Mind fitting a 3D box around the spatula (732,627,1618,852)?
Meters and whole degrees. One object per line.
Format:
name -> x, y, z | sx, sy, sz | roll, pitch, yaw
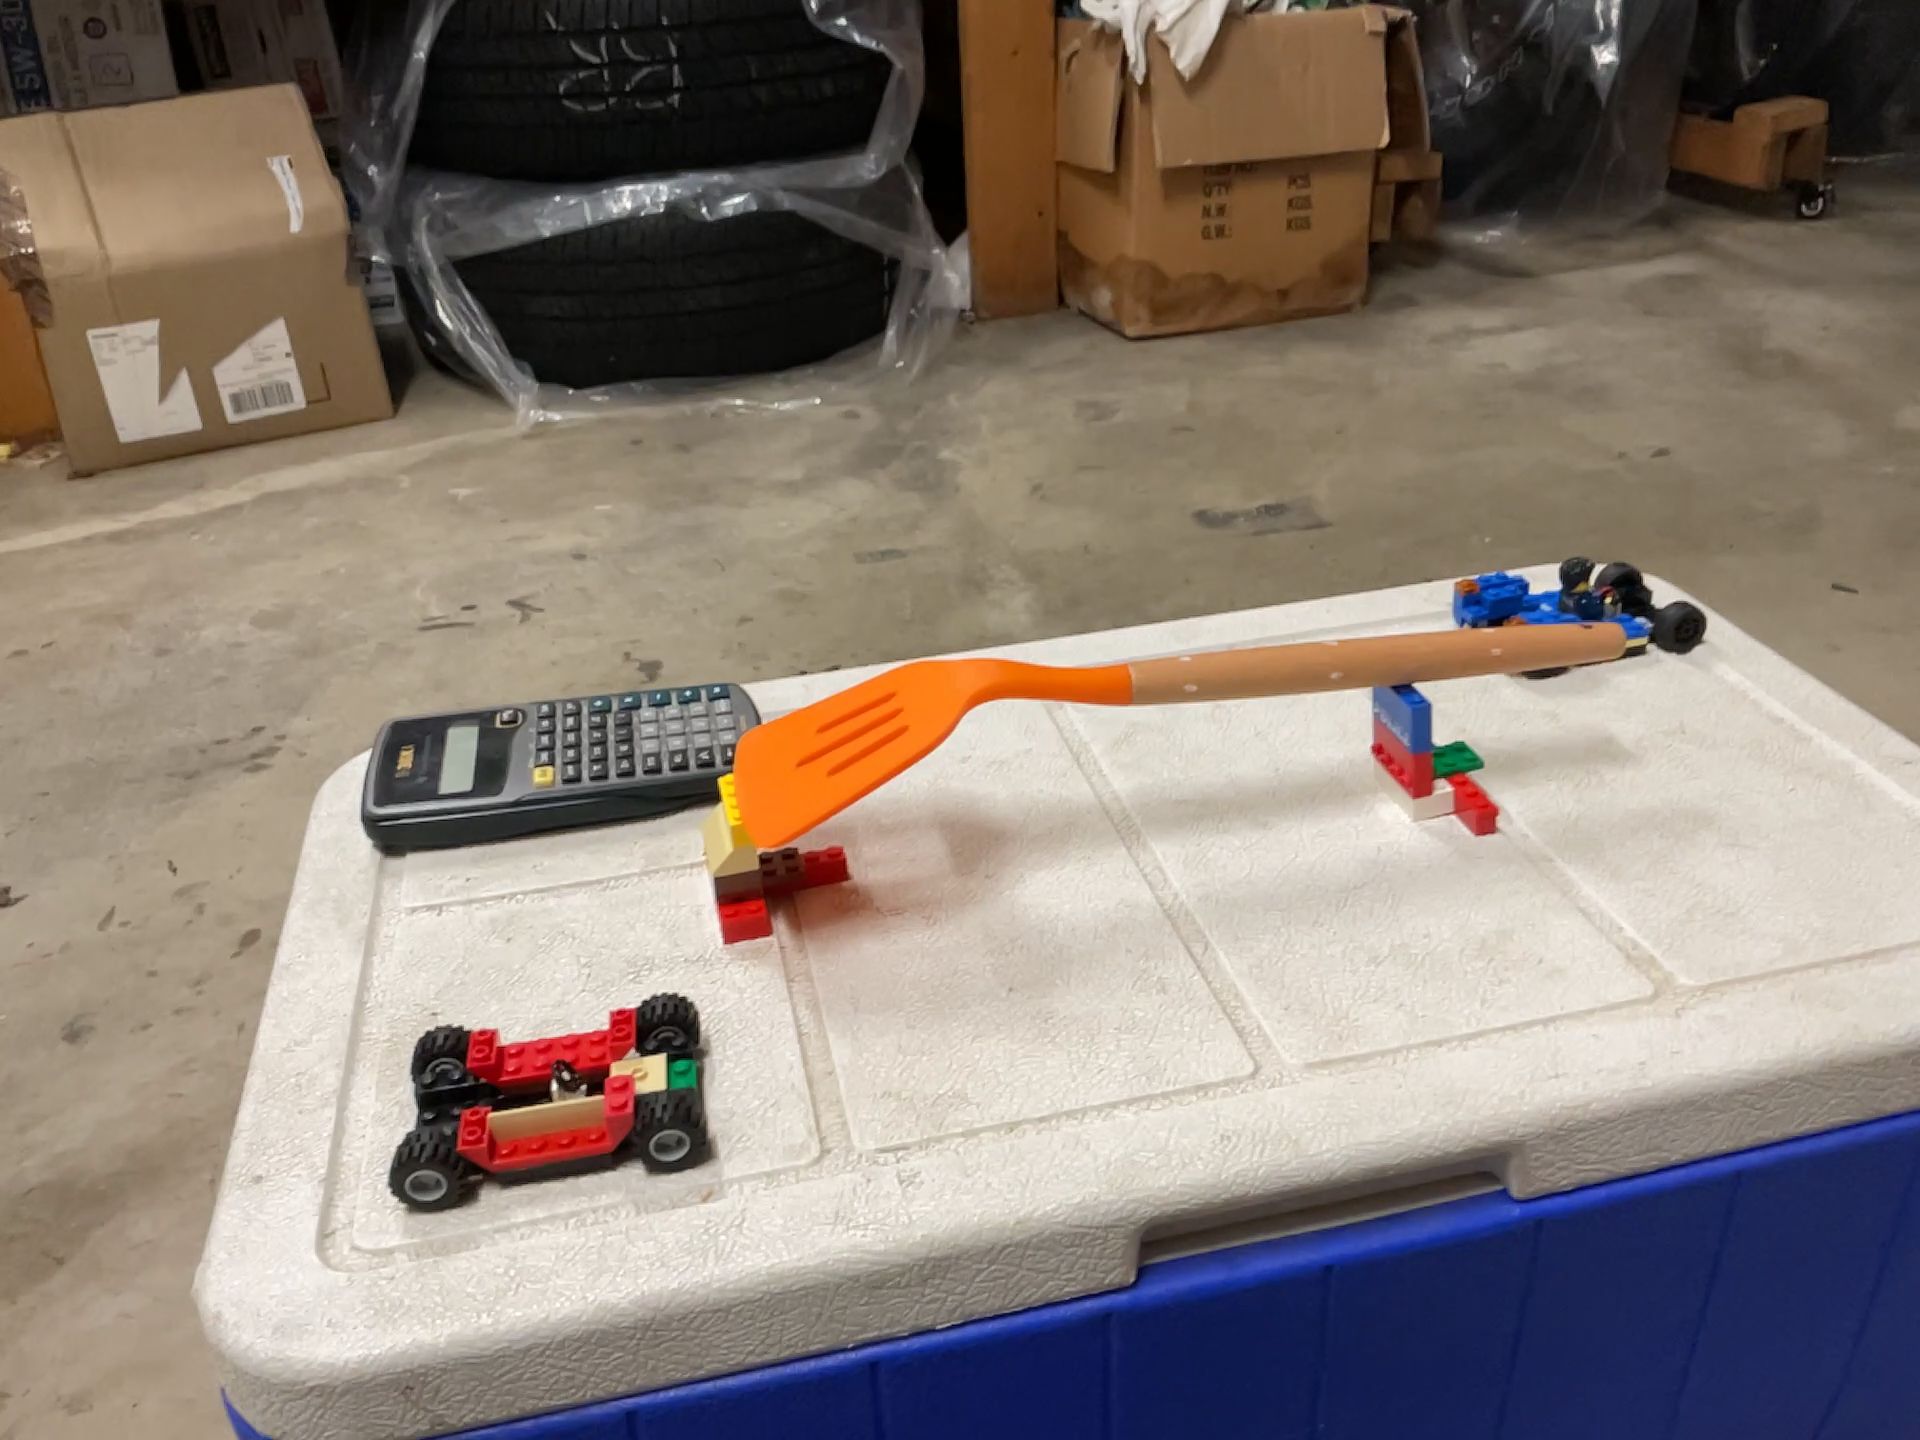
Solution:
spatula -> 0.081, -0.006, 0.562 | 0.322, 0.041, 0.081 | -5, 28, -10
